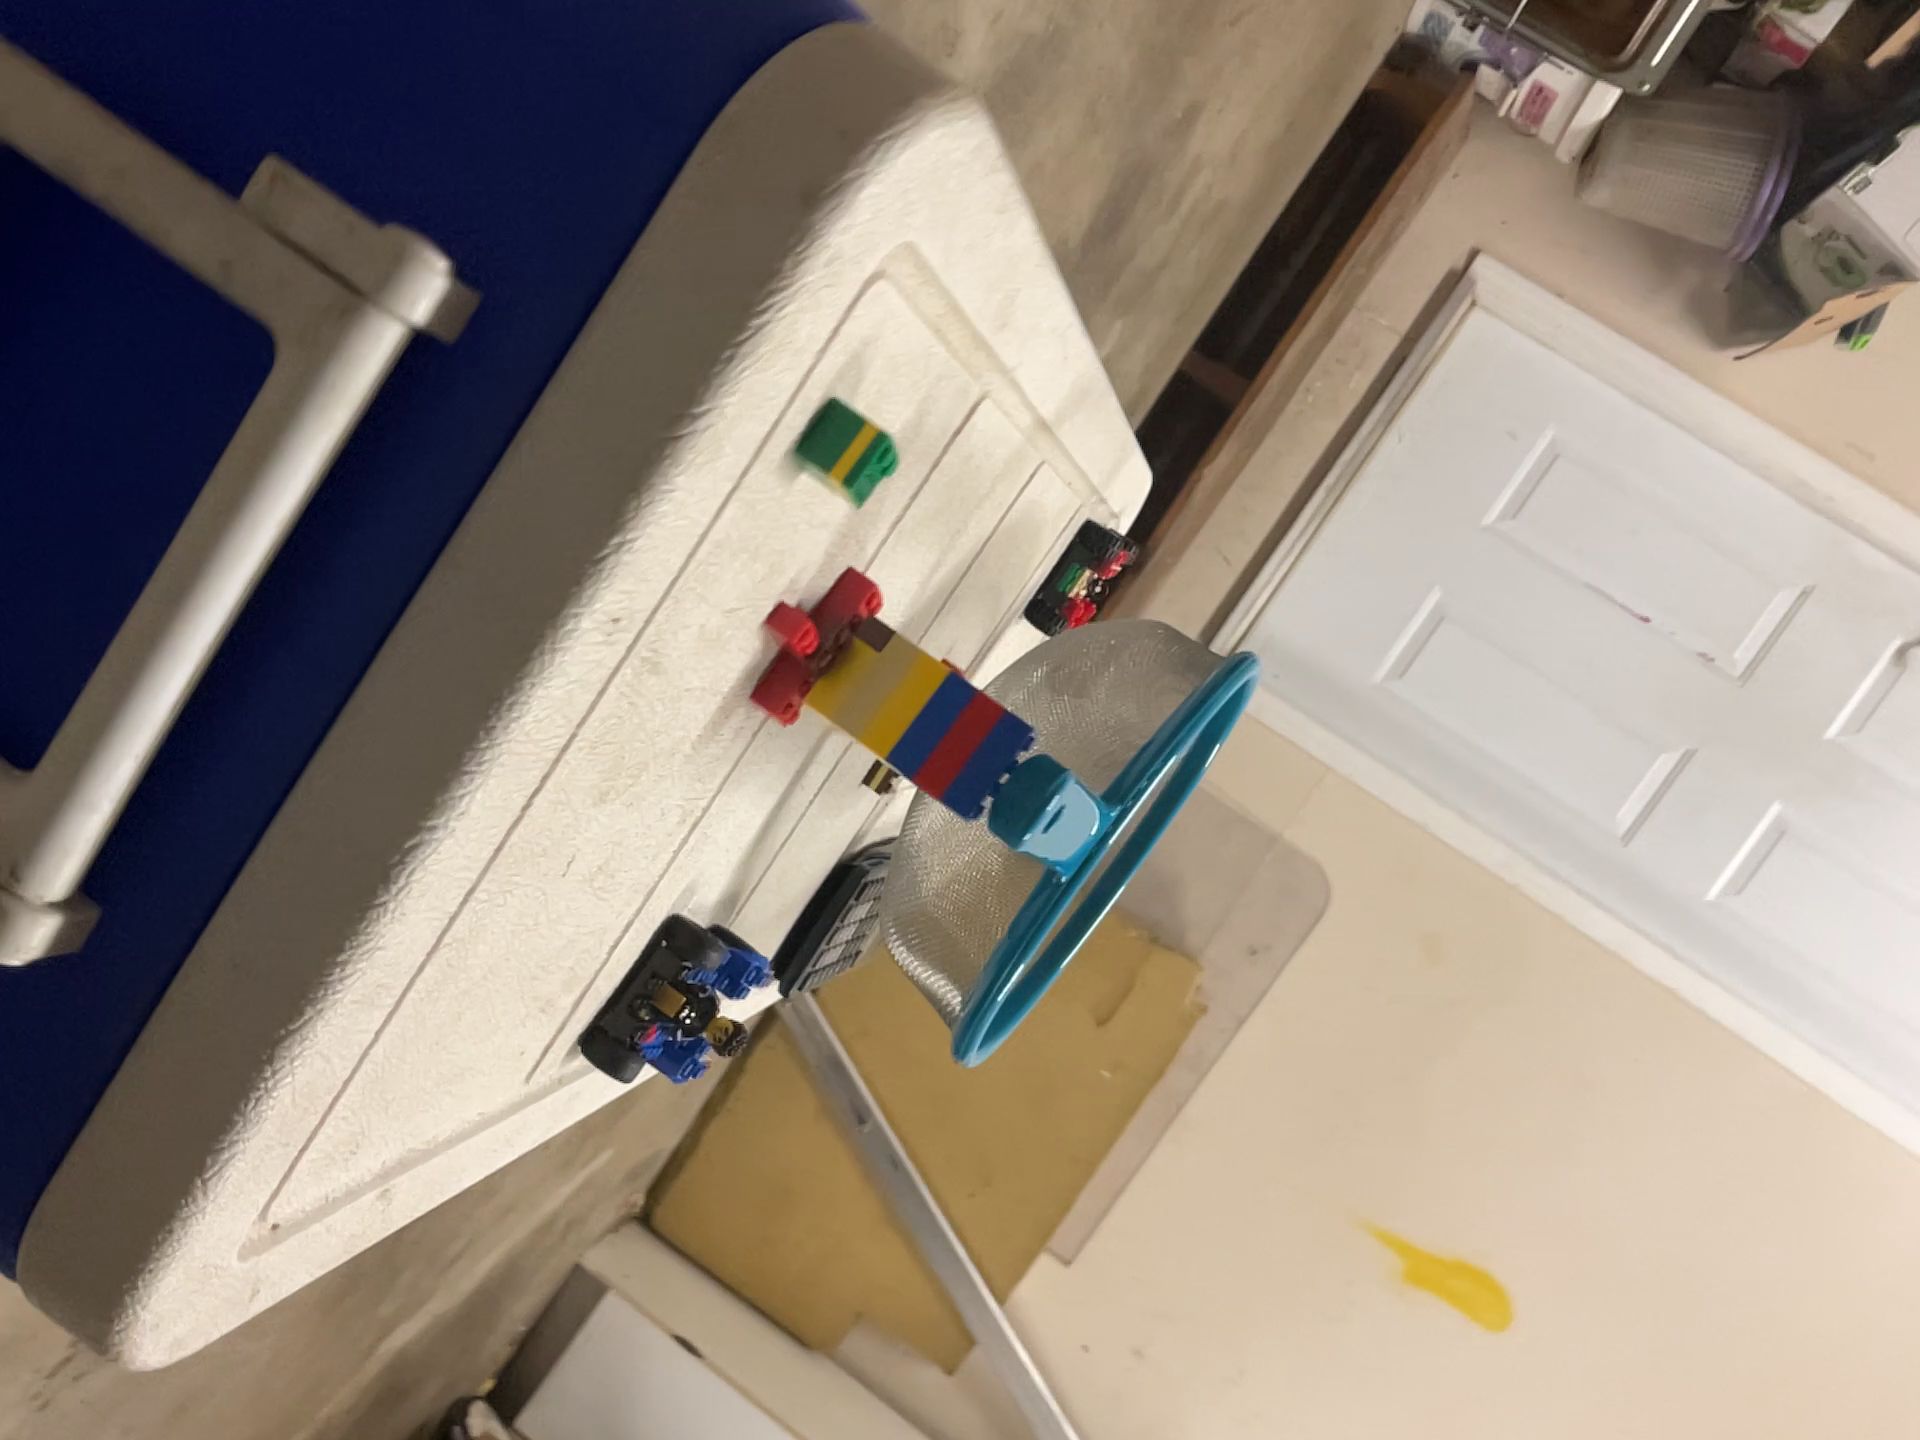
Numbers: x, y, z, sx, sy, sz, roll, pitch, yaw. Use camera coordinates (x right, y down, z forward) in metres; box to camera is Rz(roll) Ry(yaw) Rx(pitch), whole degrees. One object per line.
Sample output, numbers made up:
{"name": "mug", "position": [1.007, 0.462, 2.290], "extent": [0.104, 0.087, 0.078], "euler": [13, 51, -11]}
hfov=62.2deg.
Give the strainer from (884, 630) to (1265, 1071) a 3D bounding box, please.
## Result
{"name": "strainer", "position": [0.020, 0.027, 0.612], "extent": [0.211, 0.095, 0.340], "euler": [-54, 166, -1]}
